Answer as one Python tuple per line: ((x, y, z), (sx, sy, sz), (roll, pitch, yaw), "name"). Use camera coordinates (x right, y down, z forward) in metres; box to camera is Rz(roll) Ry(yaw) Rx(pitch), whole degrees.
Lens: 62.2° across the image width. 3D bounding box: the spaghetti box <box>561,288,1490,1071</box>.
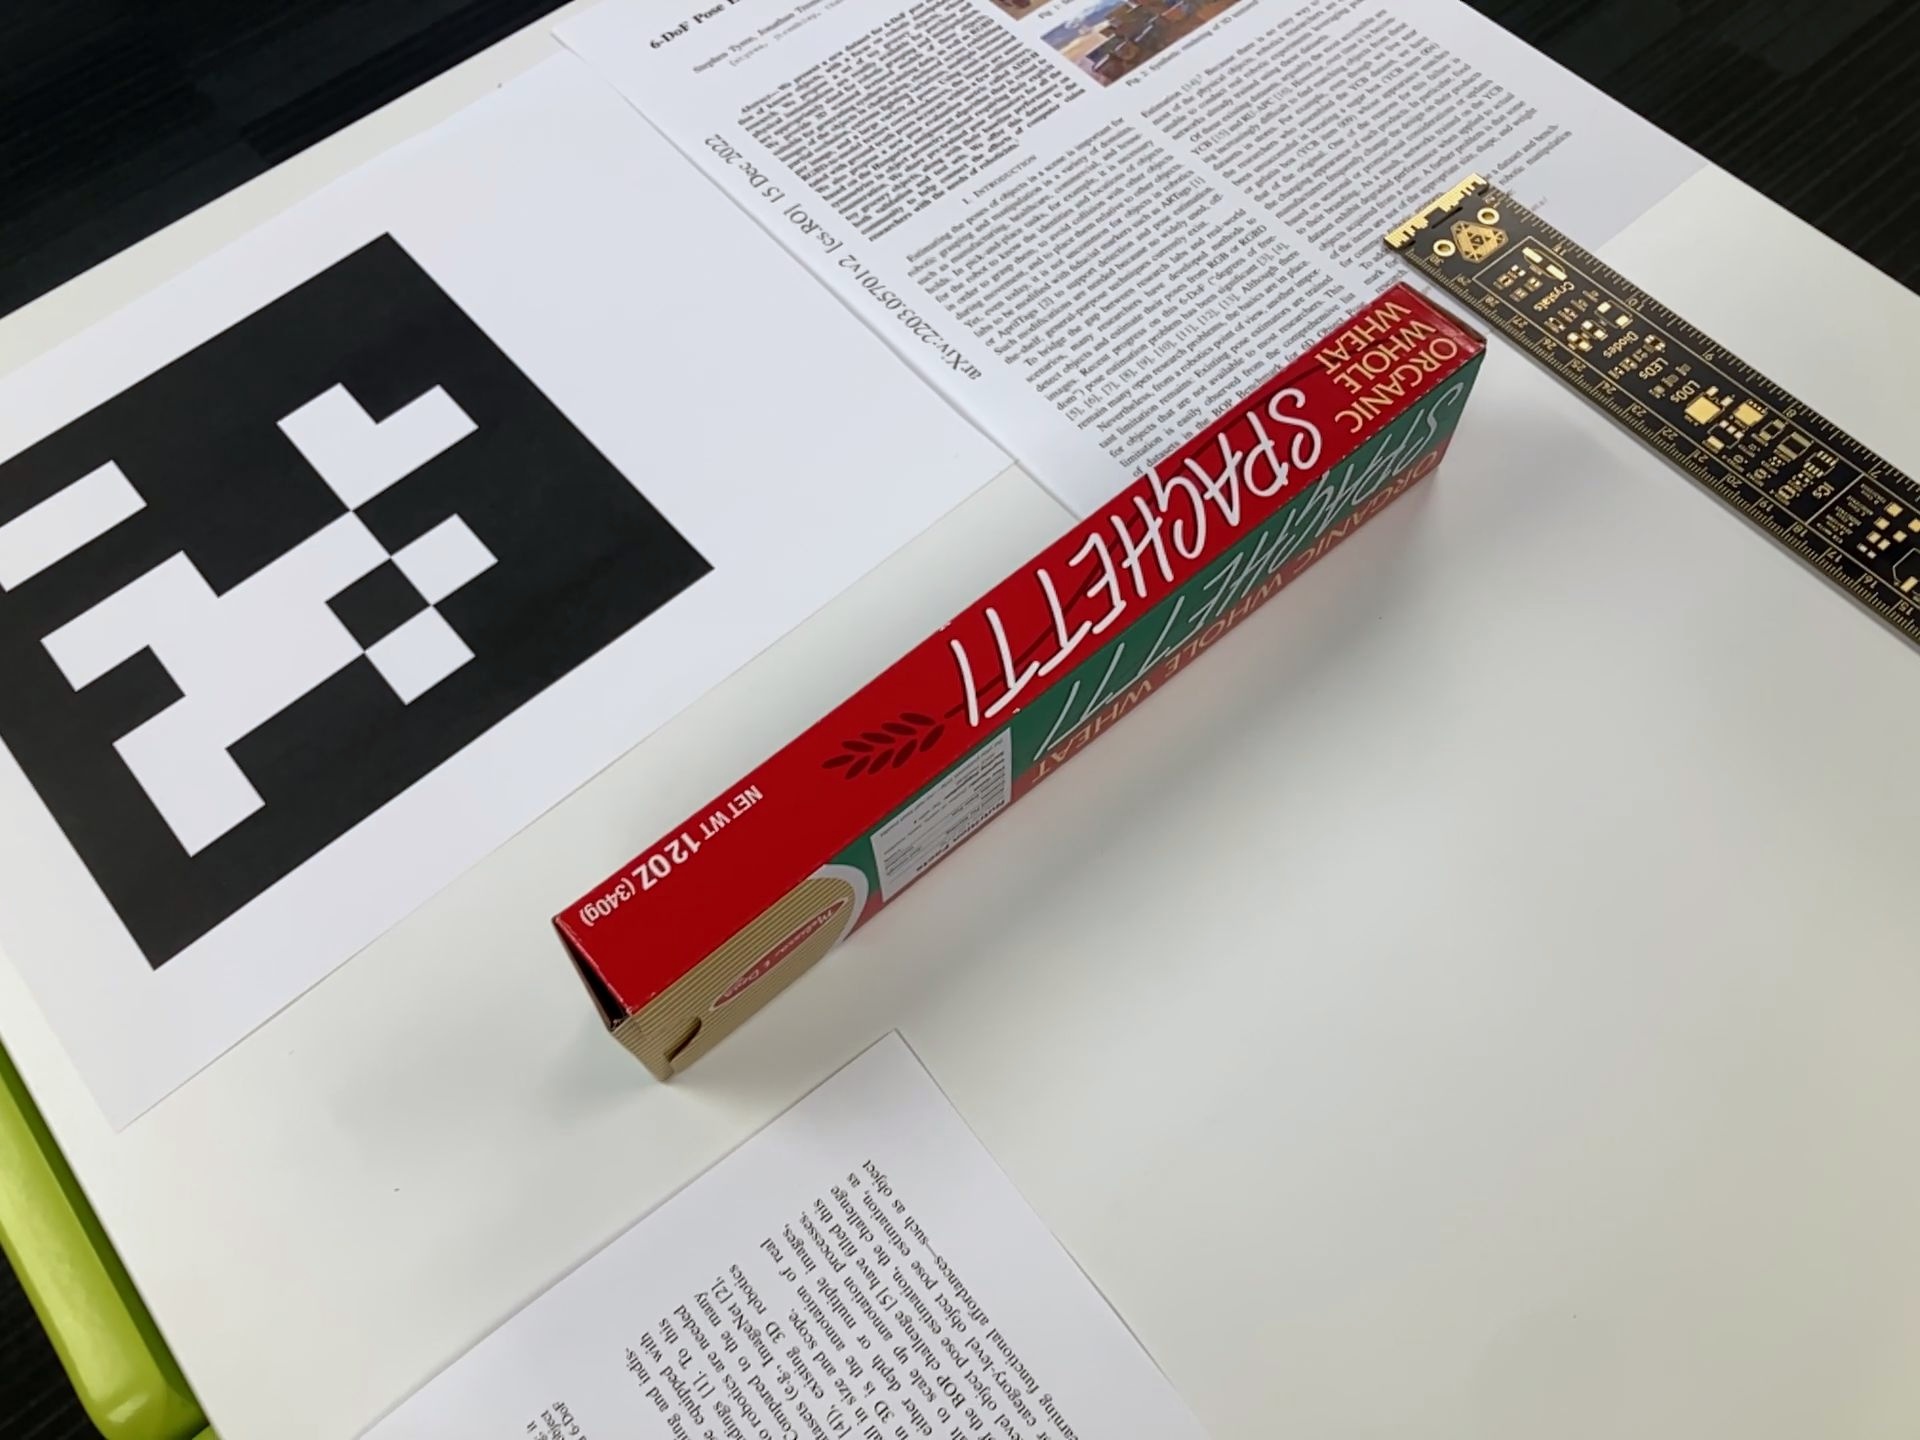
((0.023, -0.014, 0.366), (0.250, 0.050, 0.028), (-38, 69, -16), "spaghetti box")
